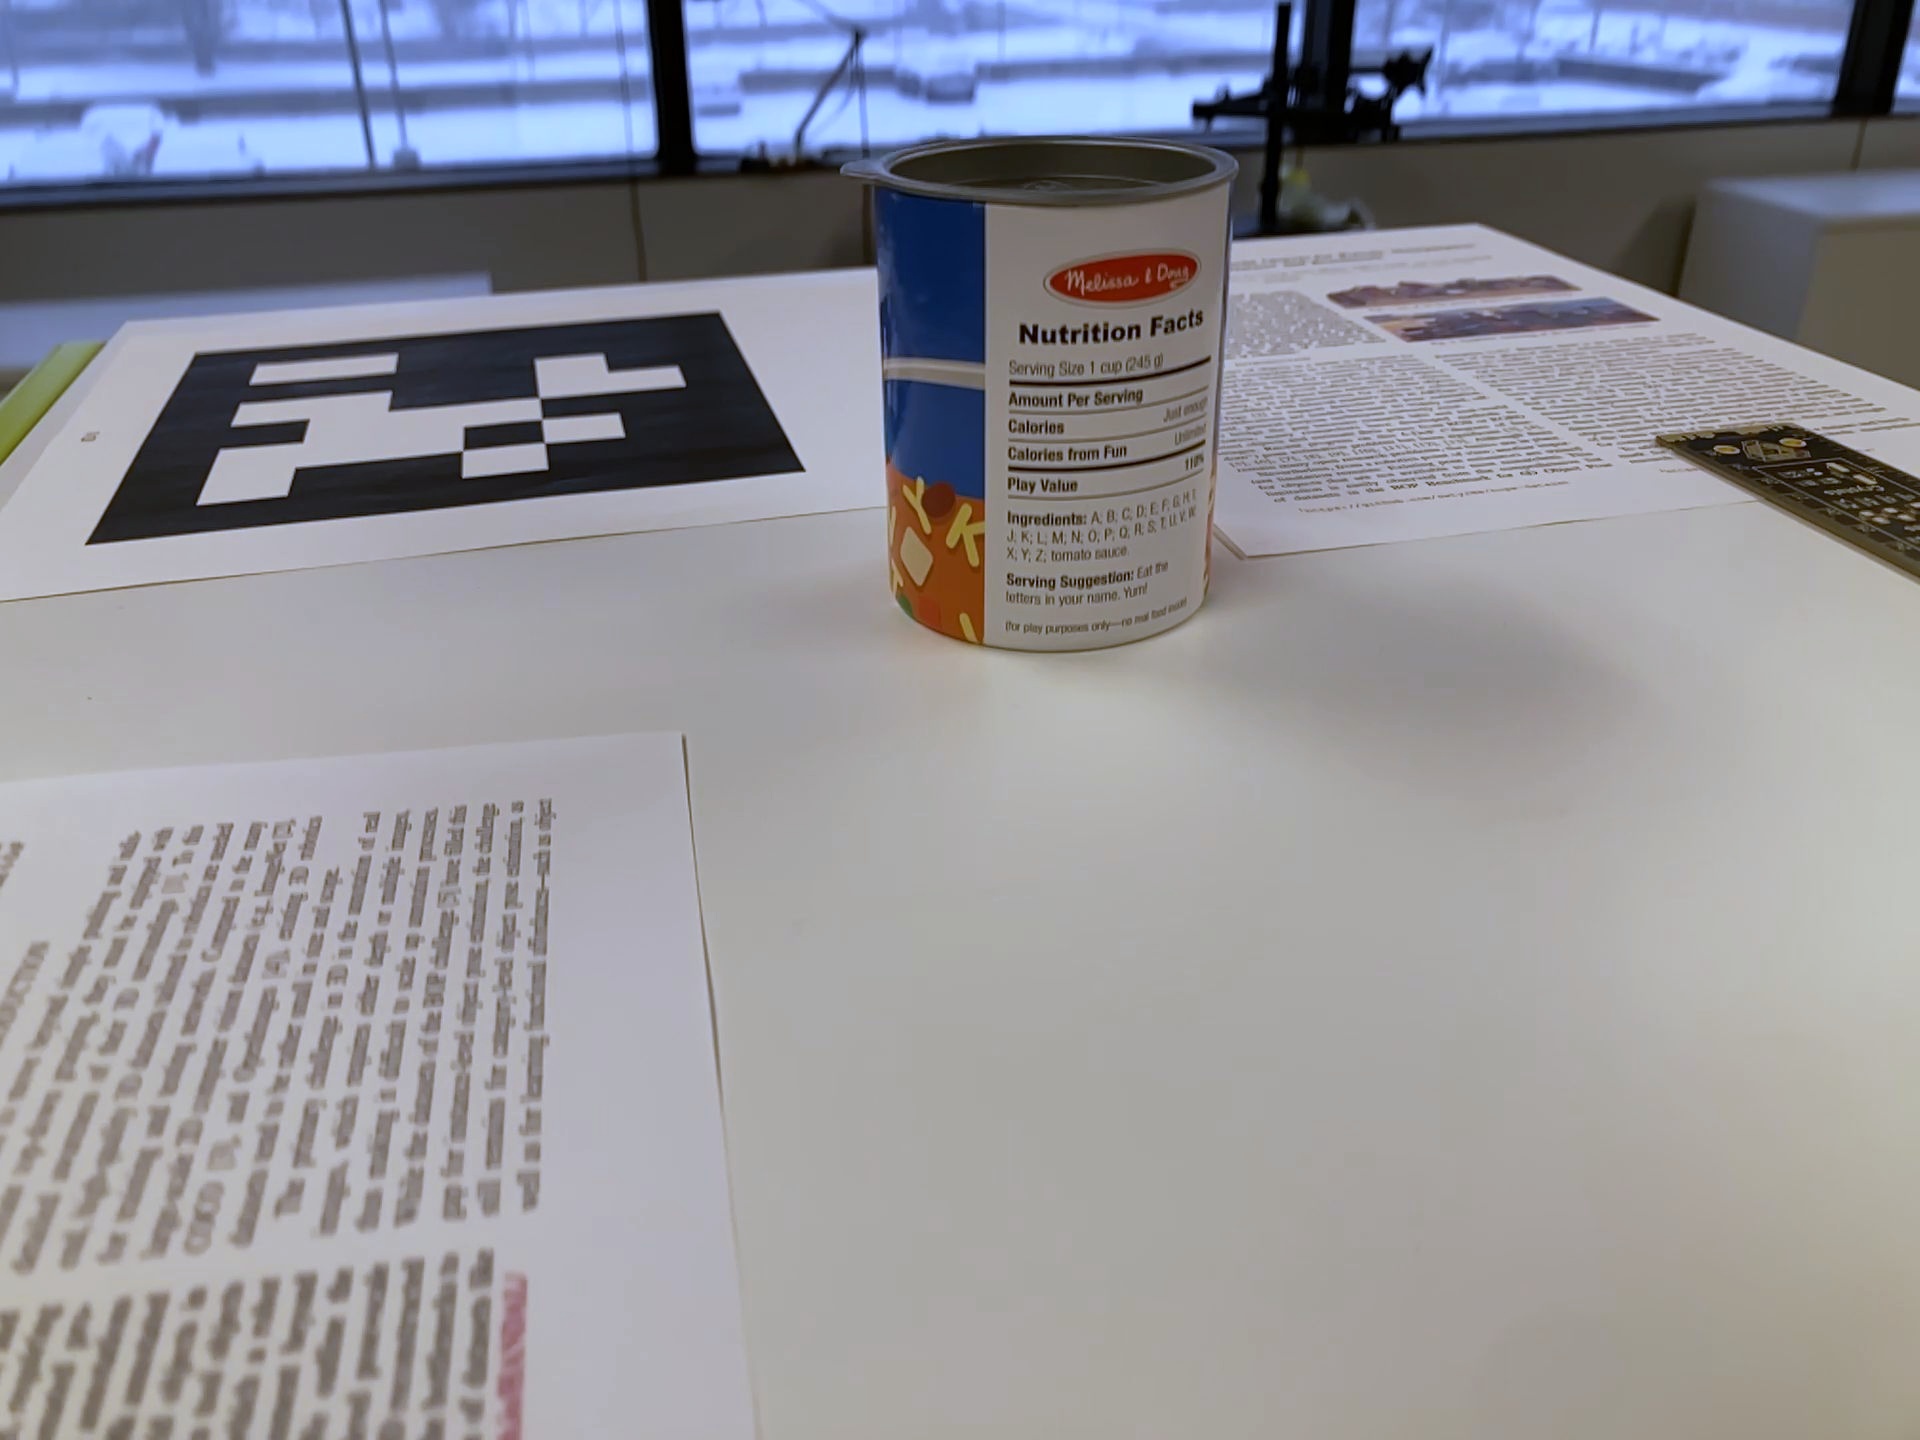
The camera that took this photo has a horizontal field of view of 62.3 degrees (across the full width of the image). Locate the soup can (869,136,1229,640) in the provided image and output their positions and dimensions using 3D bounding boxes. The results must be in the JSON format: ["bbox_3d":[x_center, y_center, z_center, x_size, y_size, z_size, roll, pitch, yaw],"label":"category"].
[{"bbox_3d":[0.016,-0.068,0.315,0.071,0.084,0.071,-1,28,0],"label":"soup can"}]
